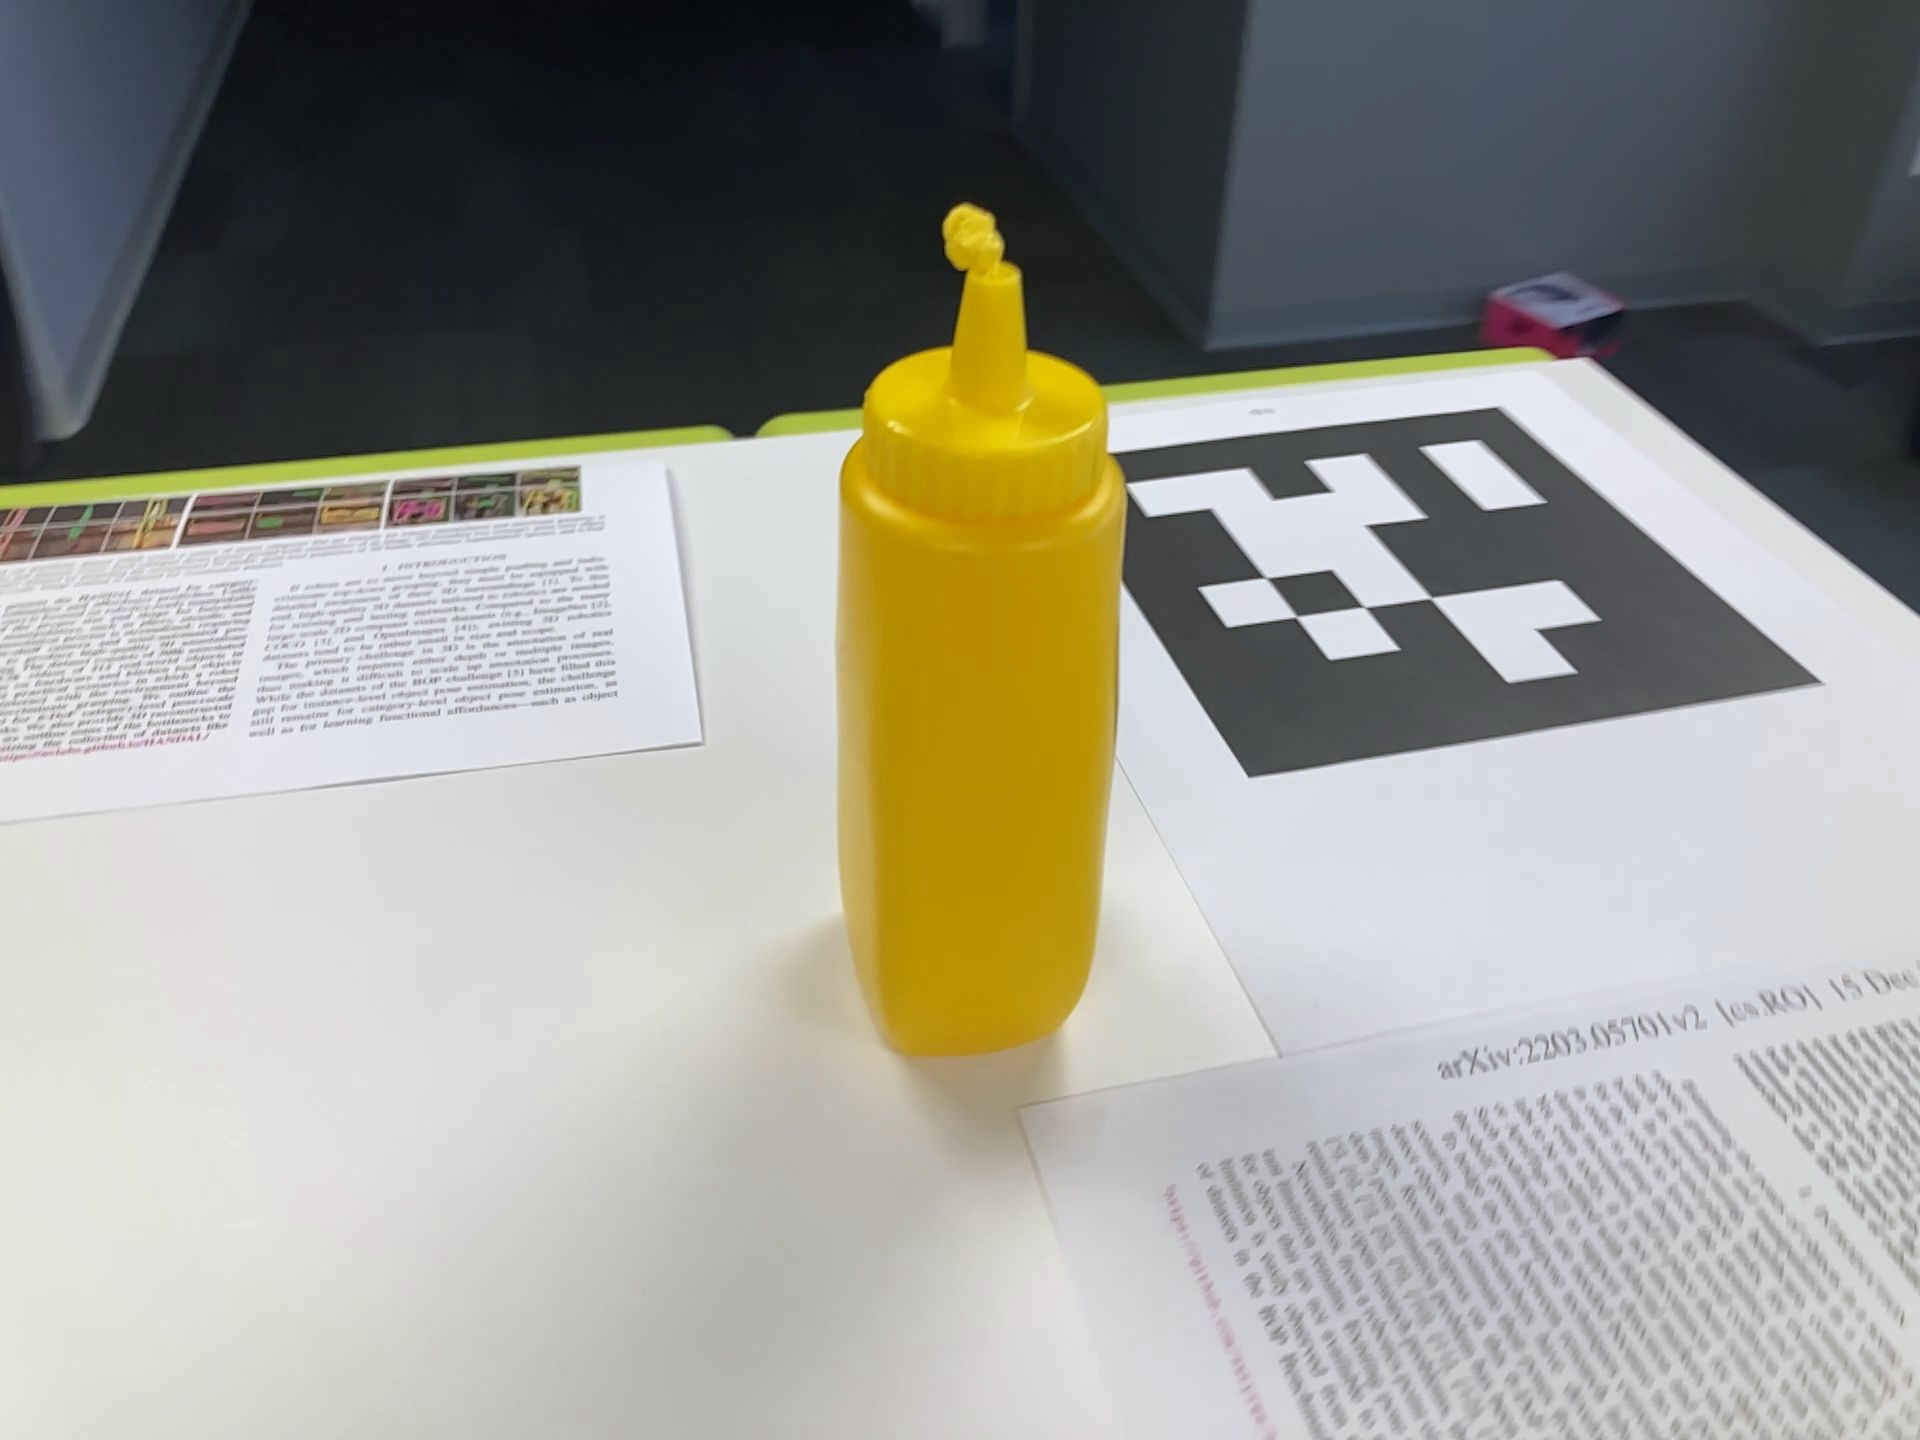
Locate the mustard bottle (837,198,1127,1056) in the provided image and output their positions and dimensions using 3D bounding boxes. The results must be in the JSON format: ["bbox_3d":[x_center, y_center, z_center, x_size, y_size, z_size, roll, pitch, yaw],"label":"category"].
[{"bbox_3d":[0.003,-0.011,0.280,0.049,0.160,0.065,-4,39,-9],"label":"mustard bottle"}]
